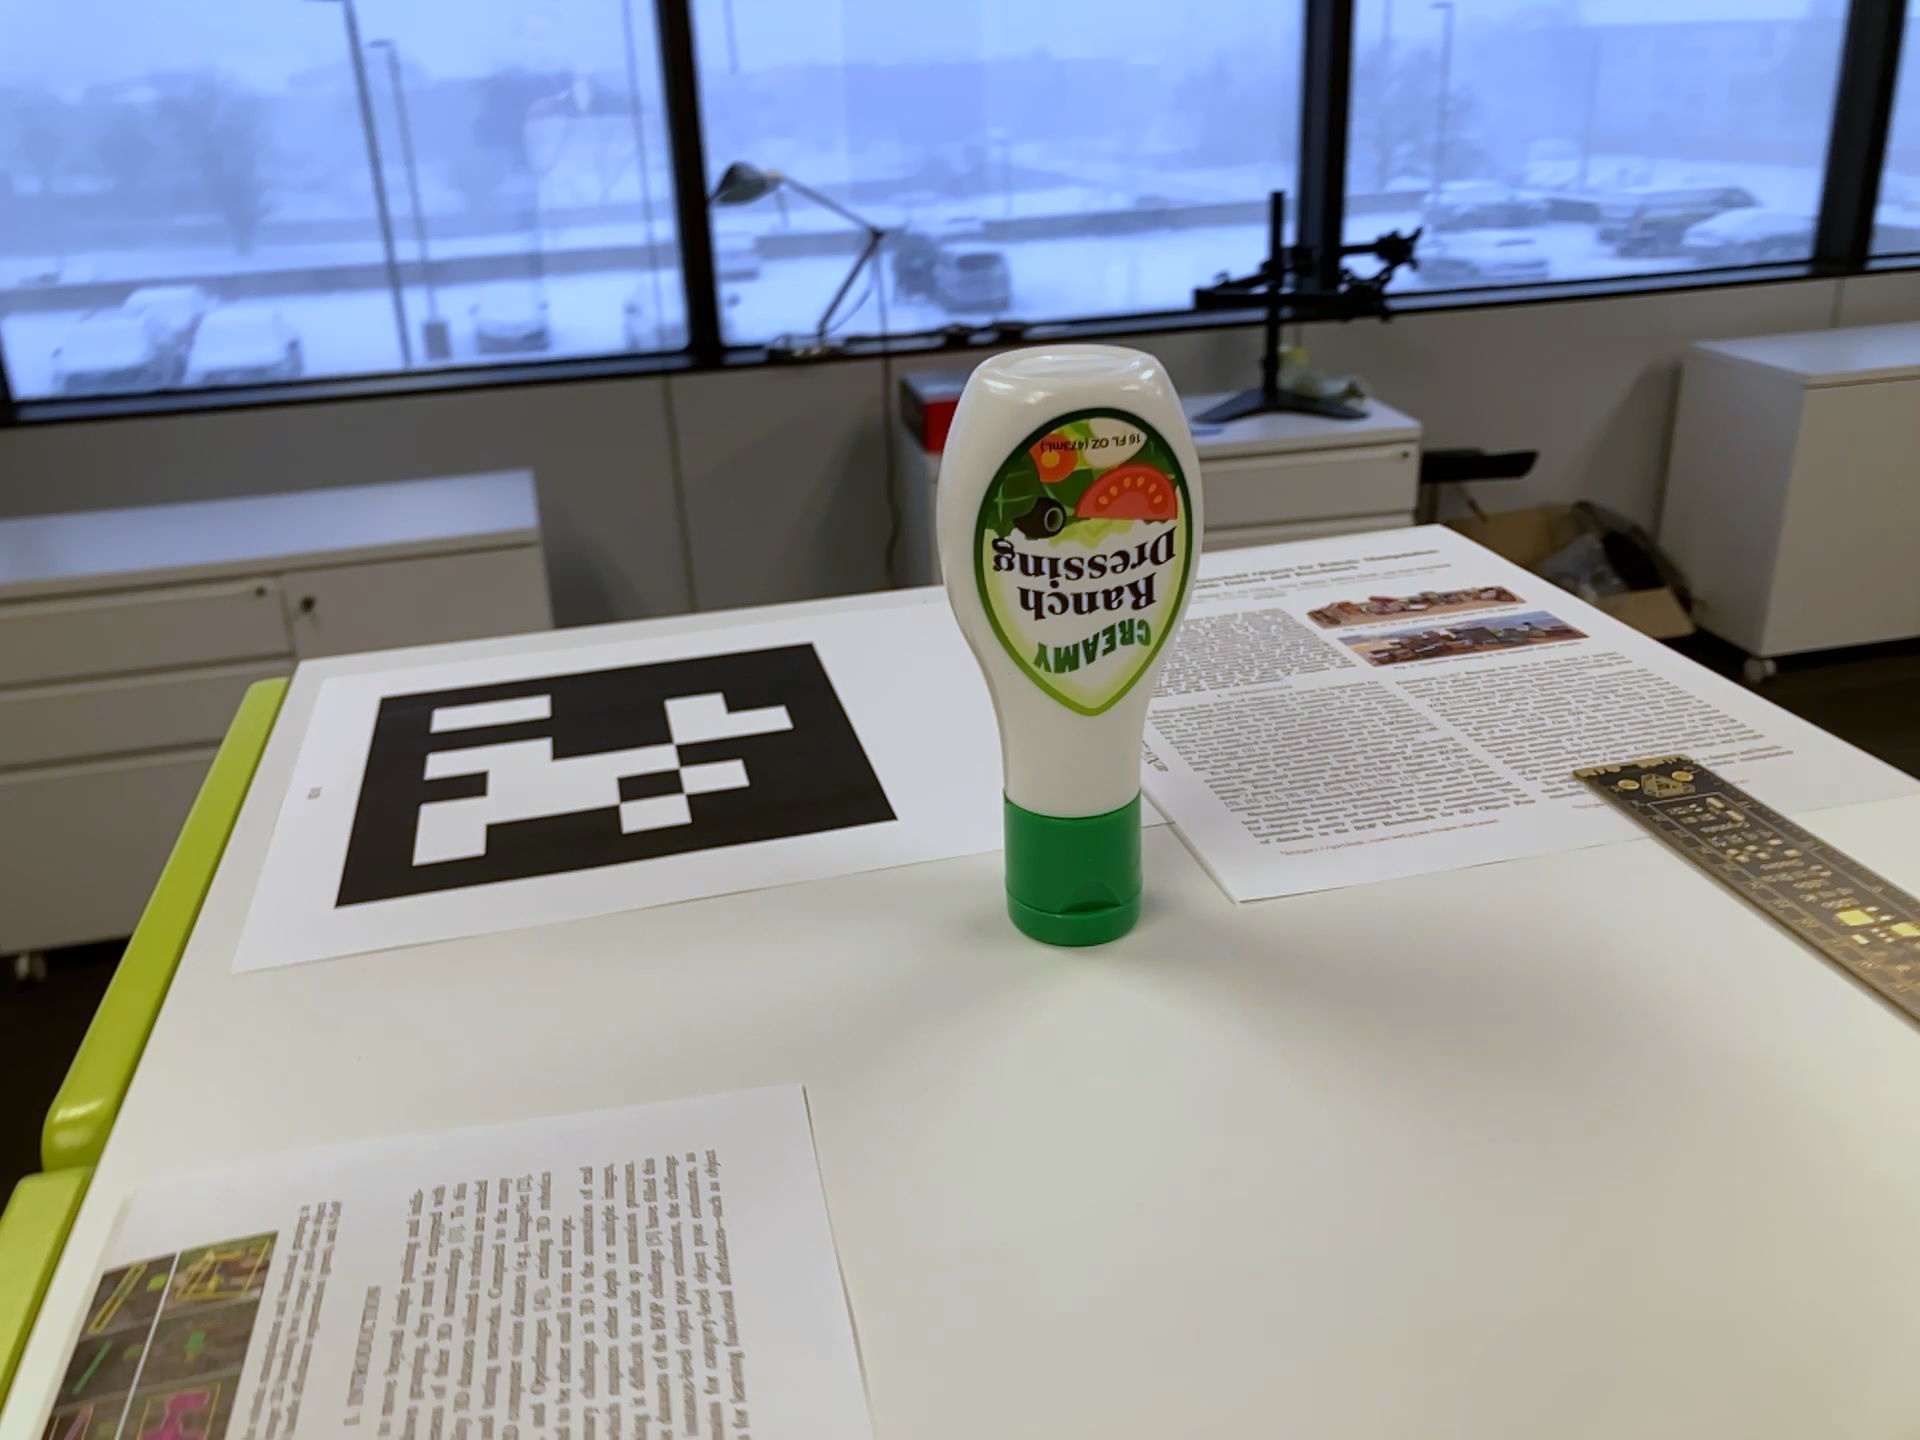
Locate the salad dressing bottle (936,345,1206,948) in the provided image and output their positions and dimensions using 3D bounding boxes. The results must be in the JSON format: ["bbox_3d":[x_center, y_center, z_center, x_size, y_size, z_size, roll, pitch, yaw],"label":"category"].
[{"bbox_3d":[0.028,-0.015,0.395,0.064,0.147,0.044,-7,24,-9],"label":"salad dressing bottle"}]
